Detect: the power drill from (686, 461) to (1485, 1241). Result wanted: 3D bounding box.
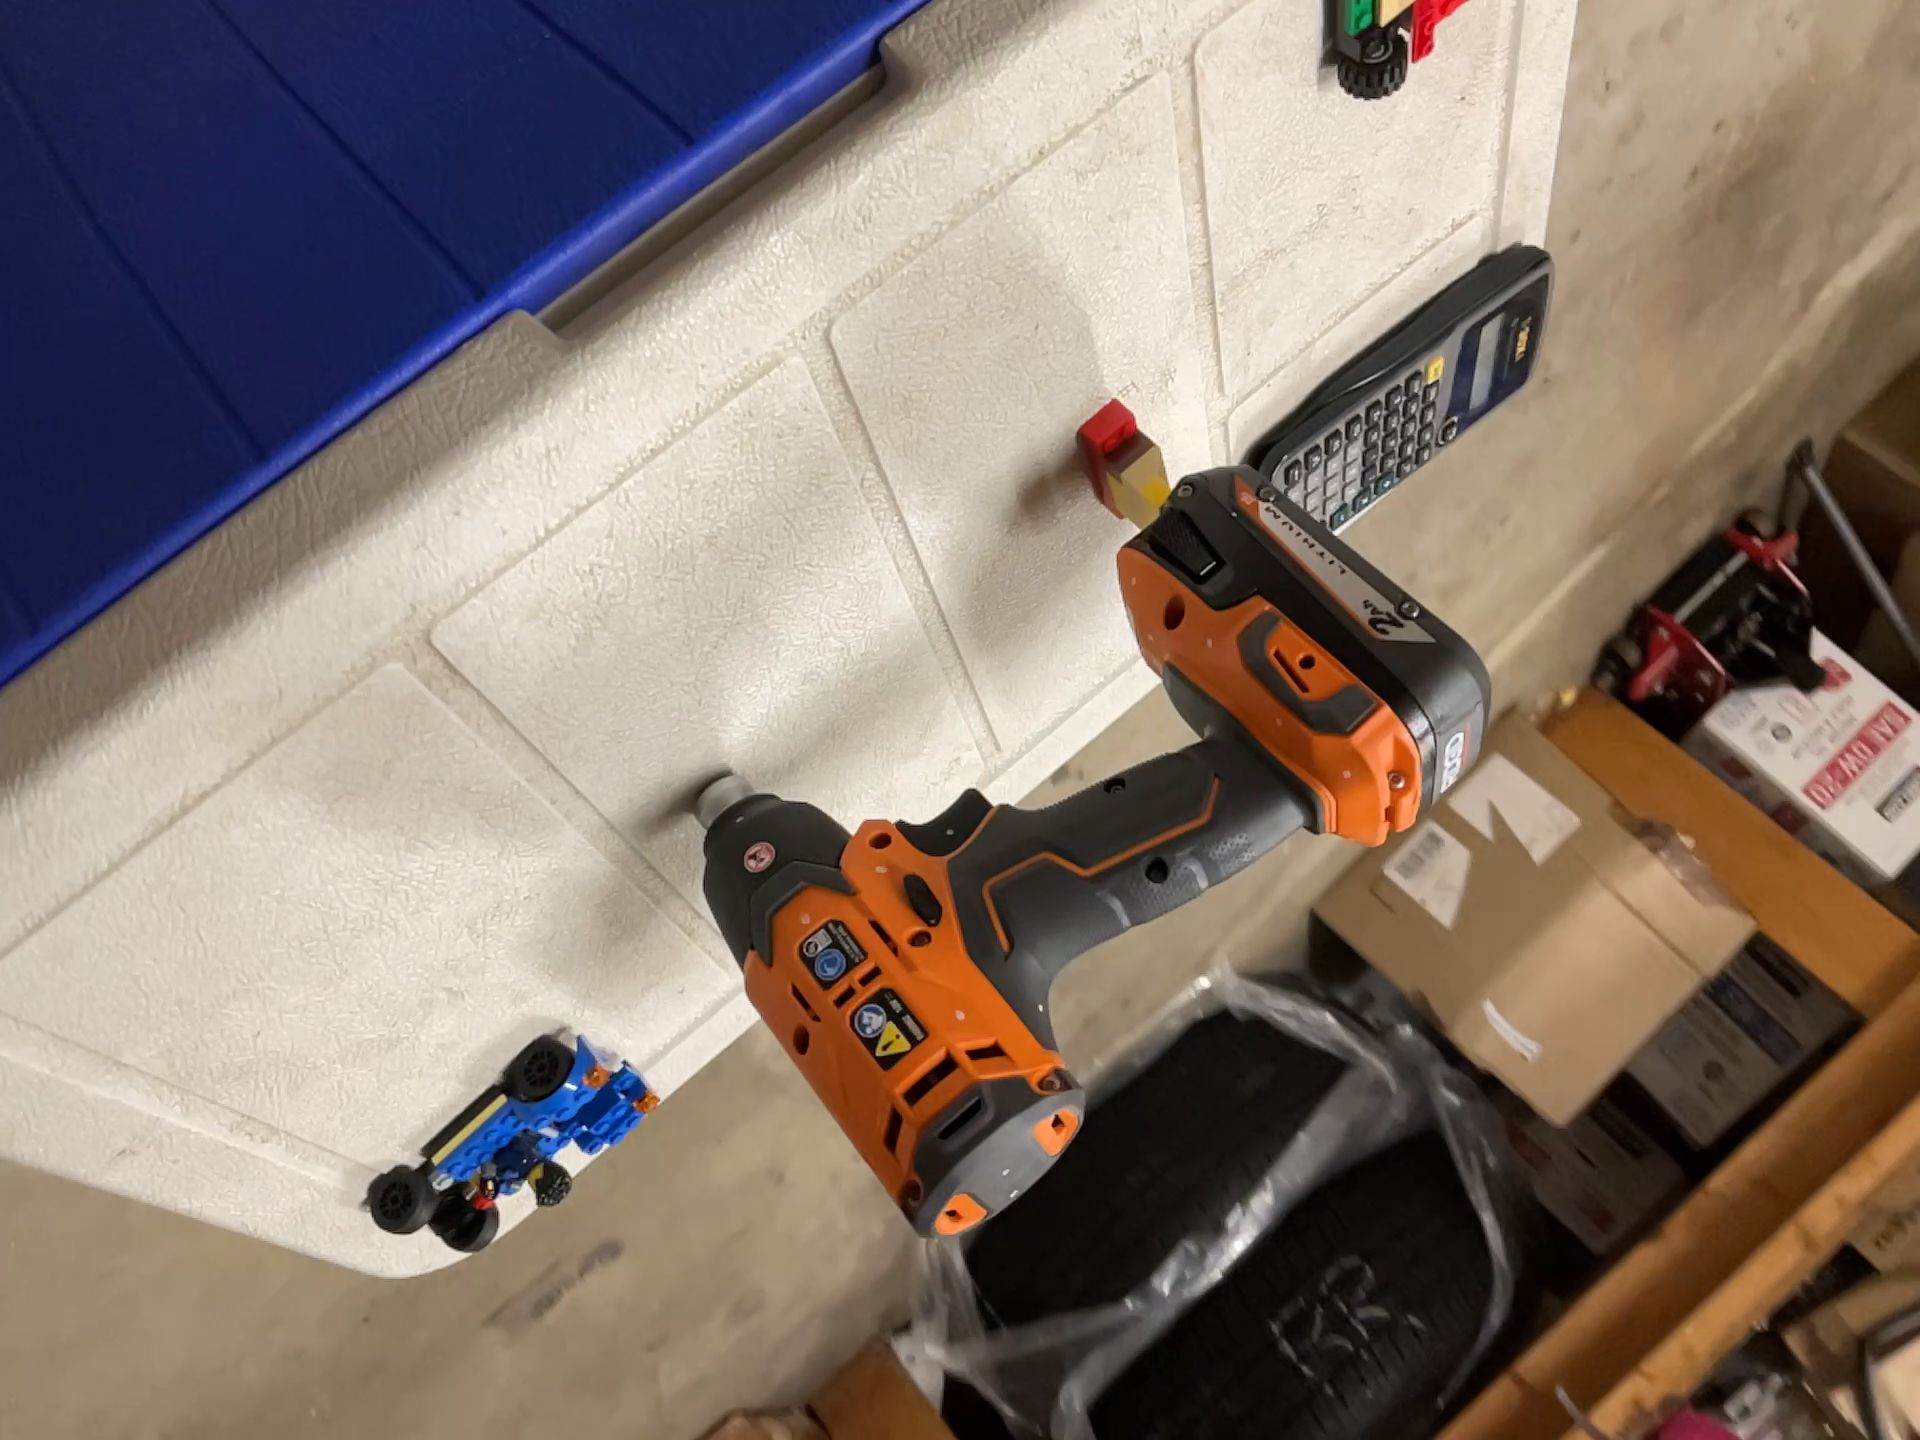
[{"bbox_3d":[0.028,0.024,0.497,0.226,0.164,0.084,-40,152,-7],"label":"power drill"}]
